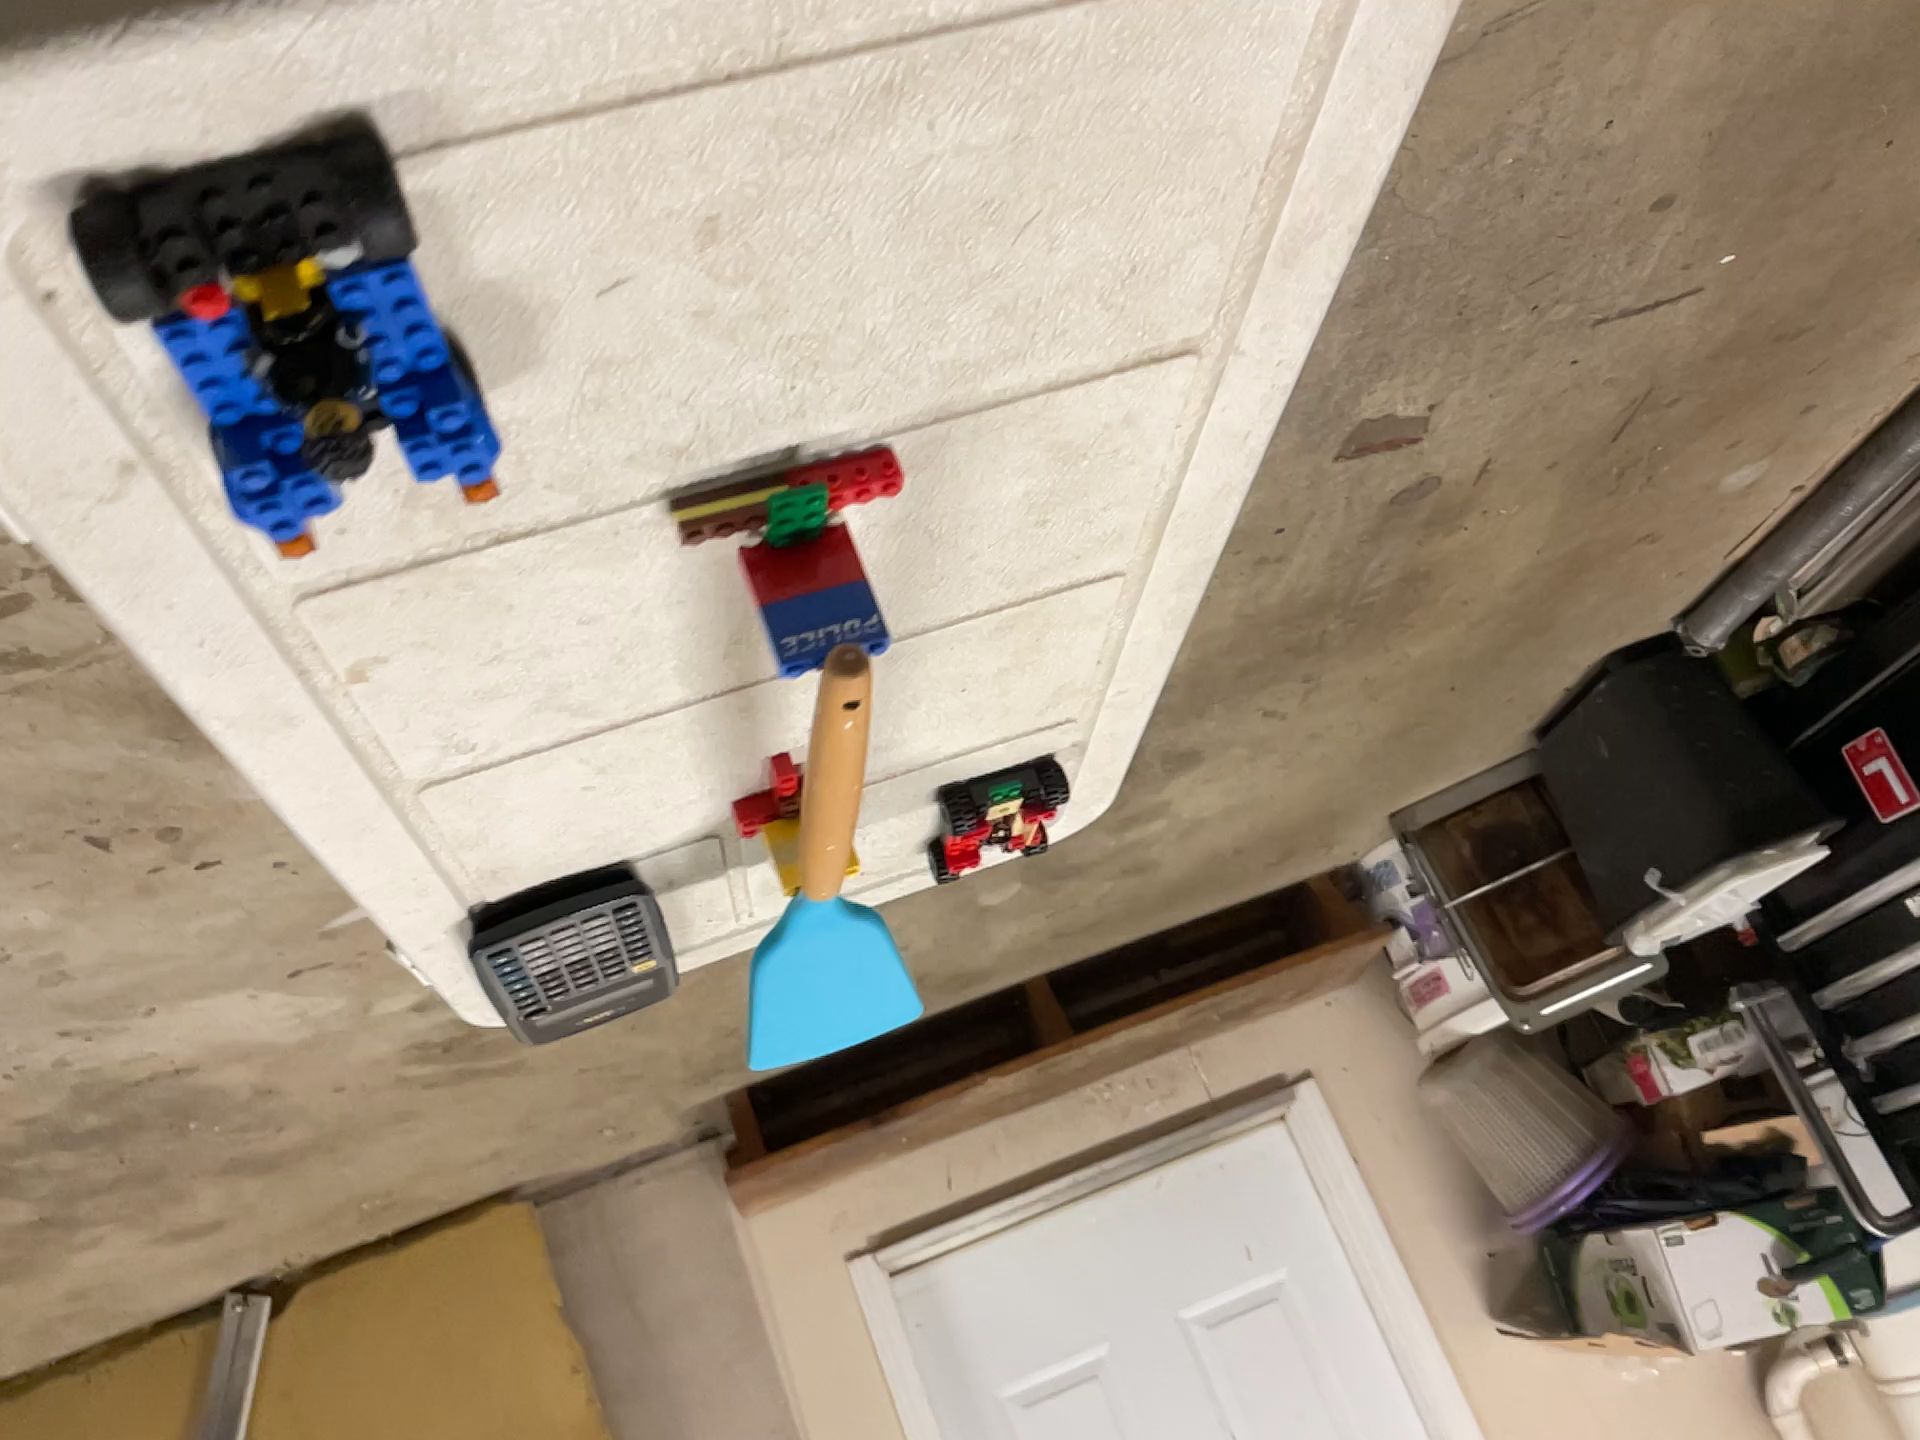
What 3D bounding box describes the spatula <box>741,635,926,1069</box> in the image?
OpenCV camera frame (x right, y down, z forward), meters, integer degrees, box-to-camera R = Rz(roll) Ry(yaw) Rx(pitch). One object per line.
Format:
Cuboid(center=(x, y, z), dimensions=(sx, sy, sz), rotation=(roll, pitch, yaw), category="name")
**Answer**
Cuboid(center=(-0.043, 0.057, 0.556), dimensions=(0.082, 0.044, 0.317), rotation=(-15, 158, -13), category="spatula")
